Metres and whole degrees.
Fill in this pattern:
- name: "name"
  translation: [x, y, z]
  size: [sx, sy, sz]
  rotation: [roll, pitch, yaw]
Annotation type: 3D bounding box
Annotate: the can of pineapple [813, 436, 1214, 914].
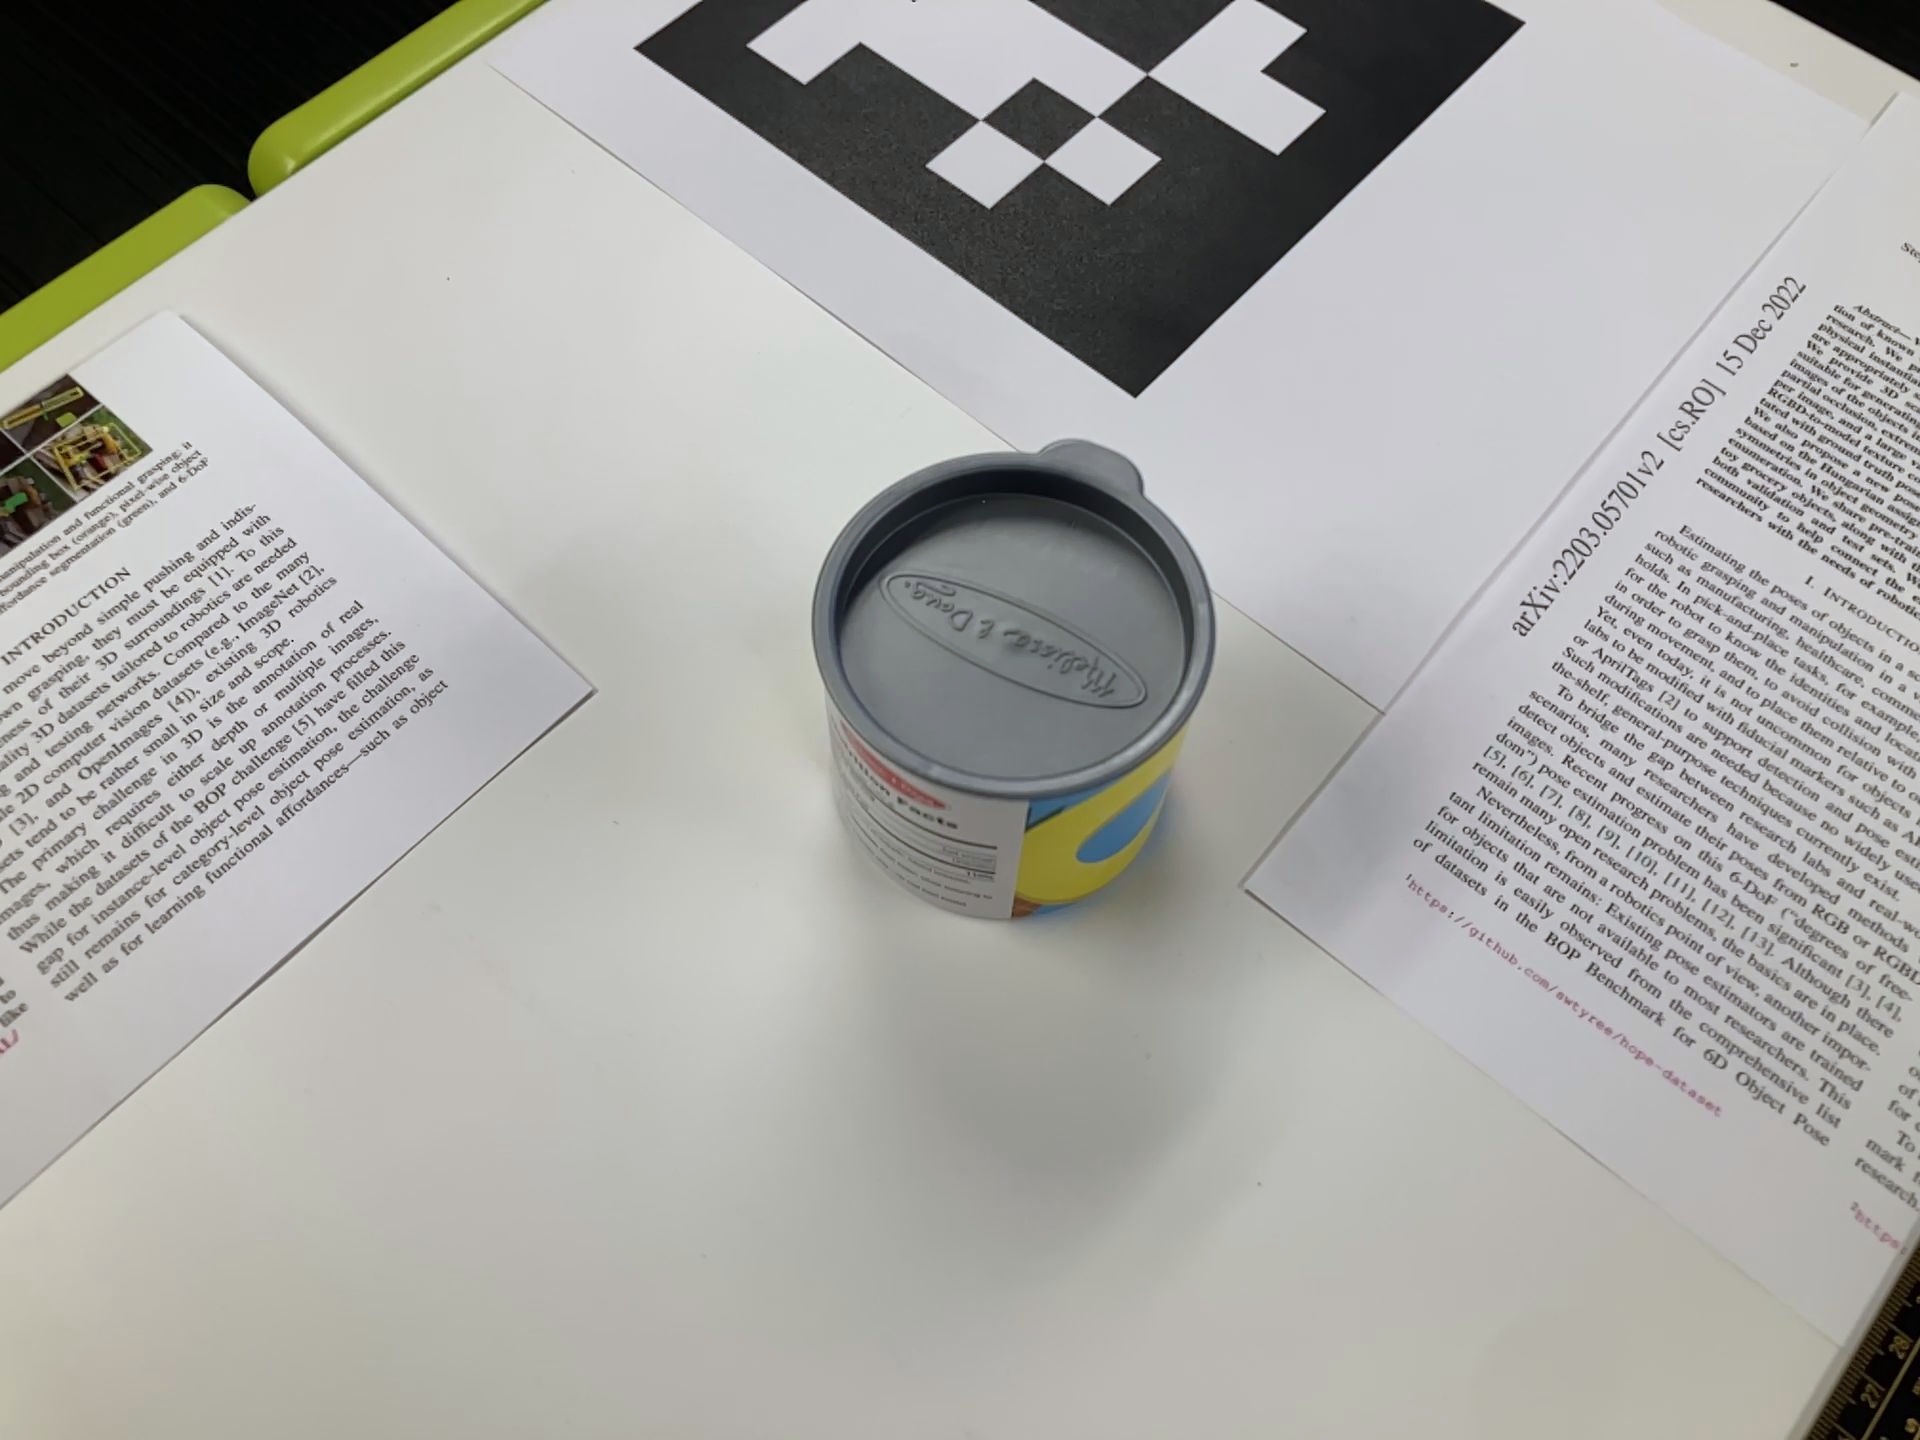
- name: "can of pineapple"
  translation: [0.009, -0.006, 0.286]
  size: [0.071, 0.058, 0.071]
  rotation: [1, 64, -2]
